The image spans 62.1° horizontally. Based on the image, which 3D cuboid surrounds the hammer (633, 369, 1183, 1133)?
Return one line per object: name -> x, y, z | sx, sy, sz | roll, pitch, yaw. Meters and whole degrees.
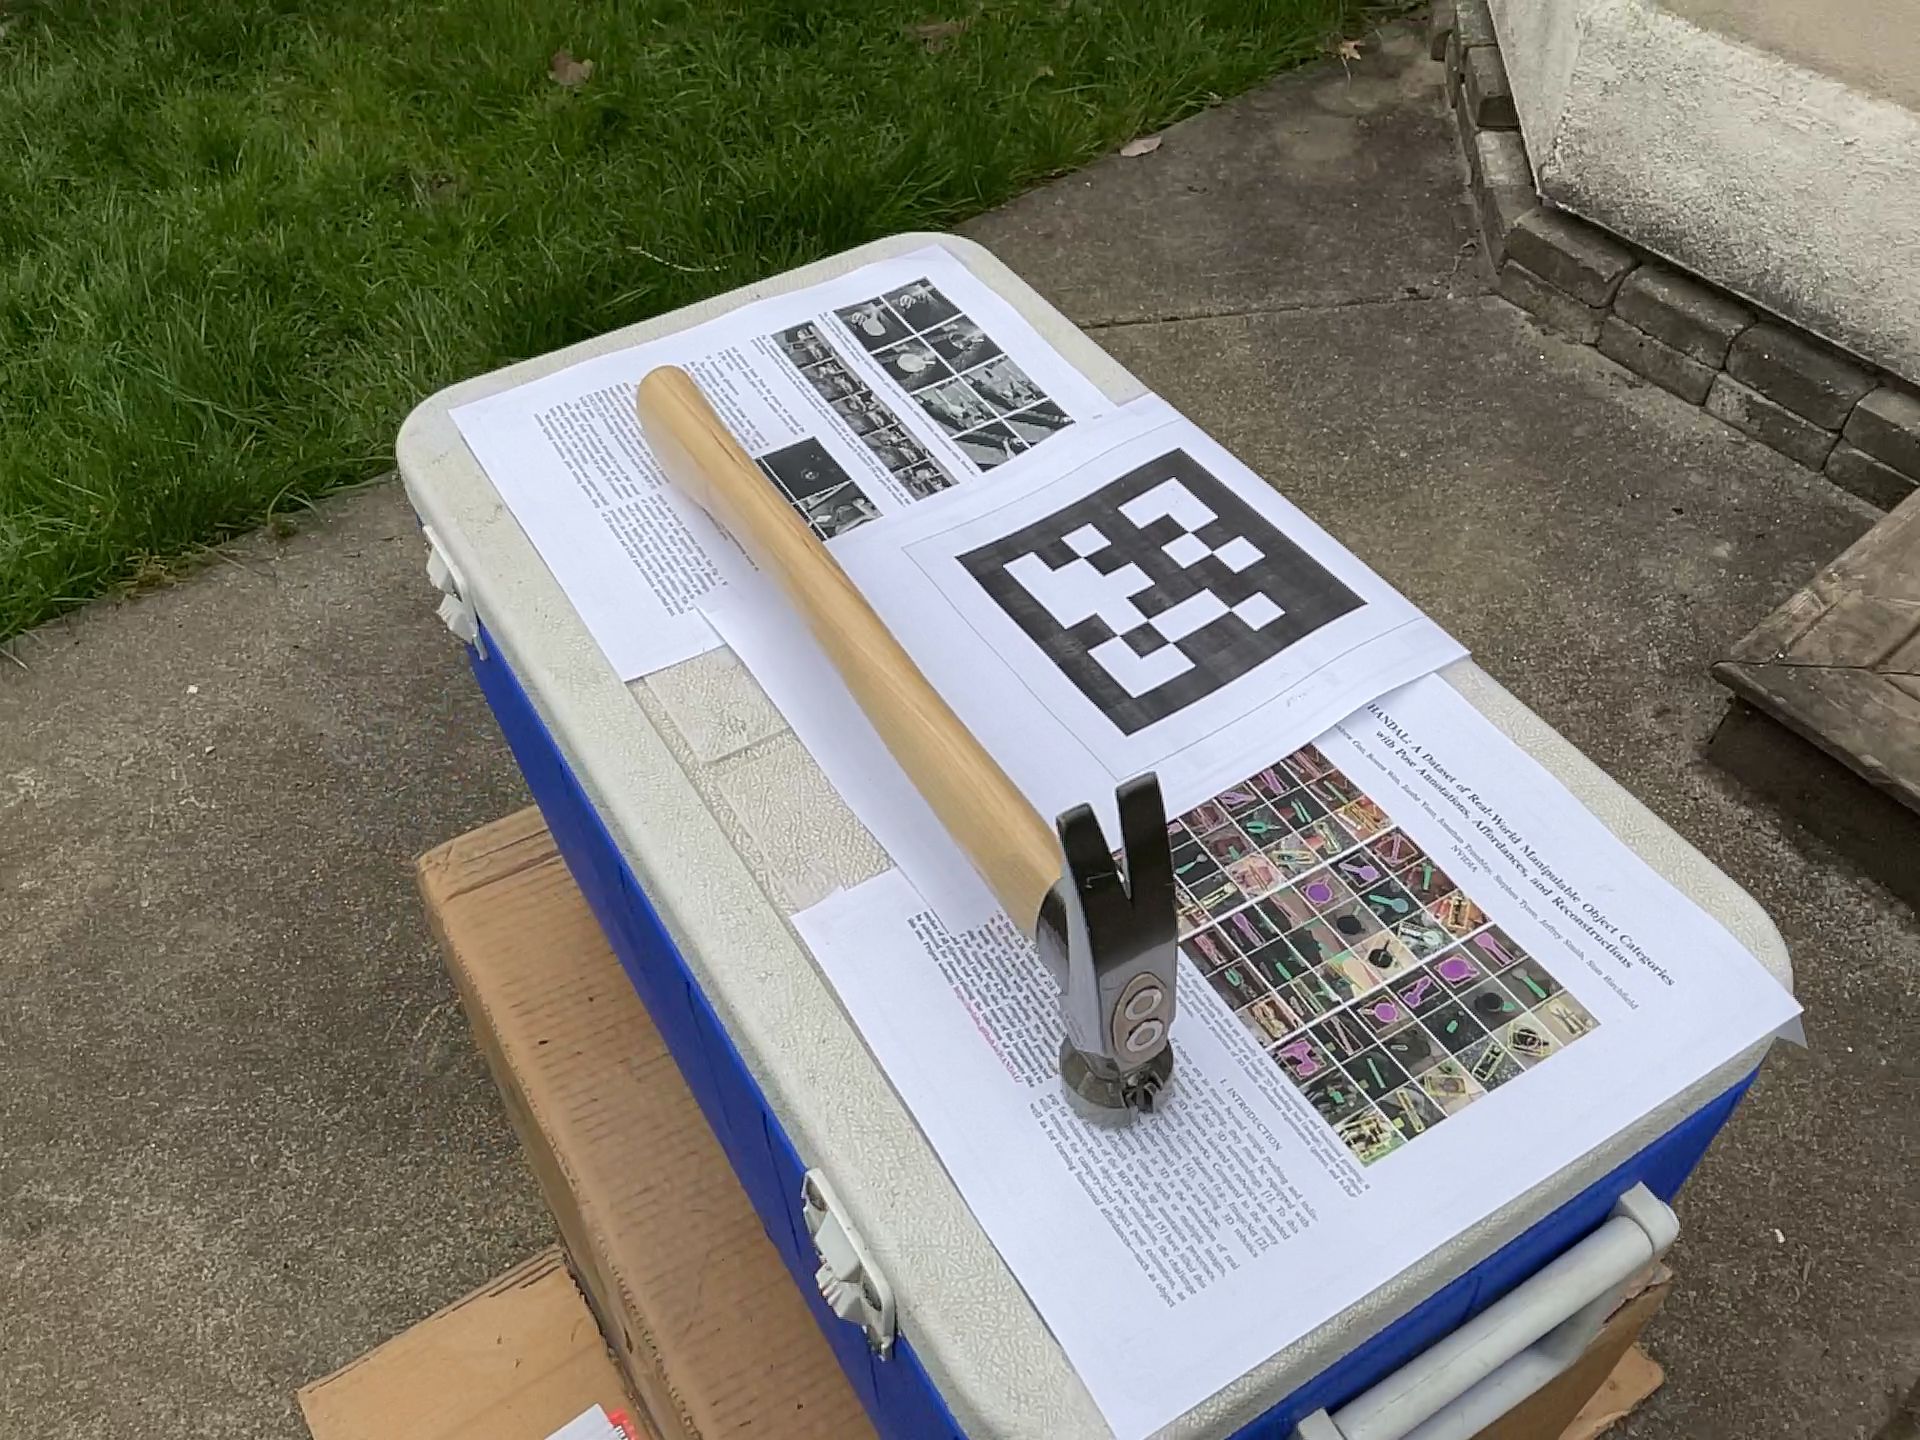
hammer -> -0.043, -0.038, 0.606 | 0.038, 0.146, 0.411 | -24, 47, -17
